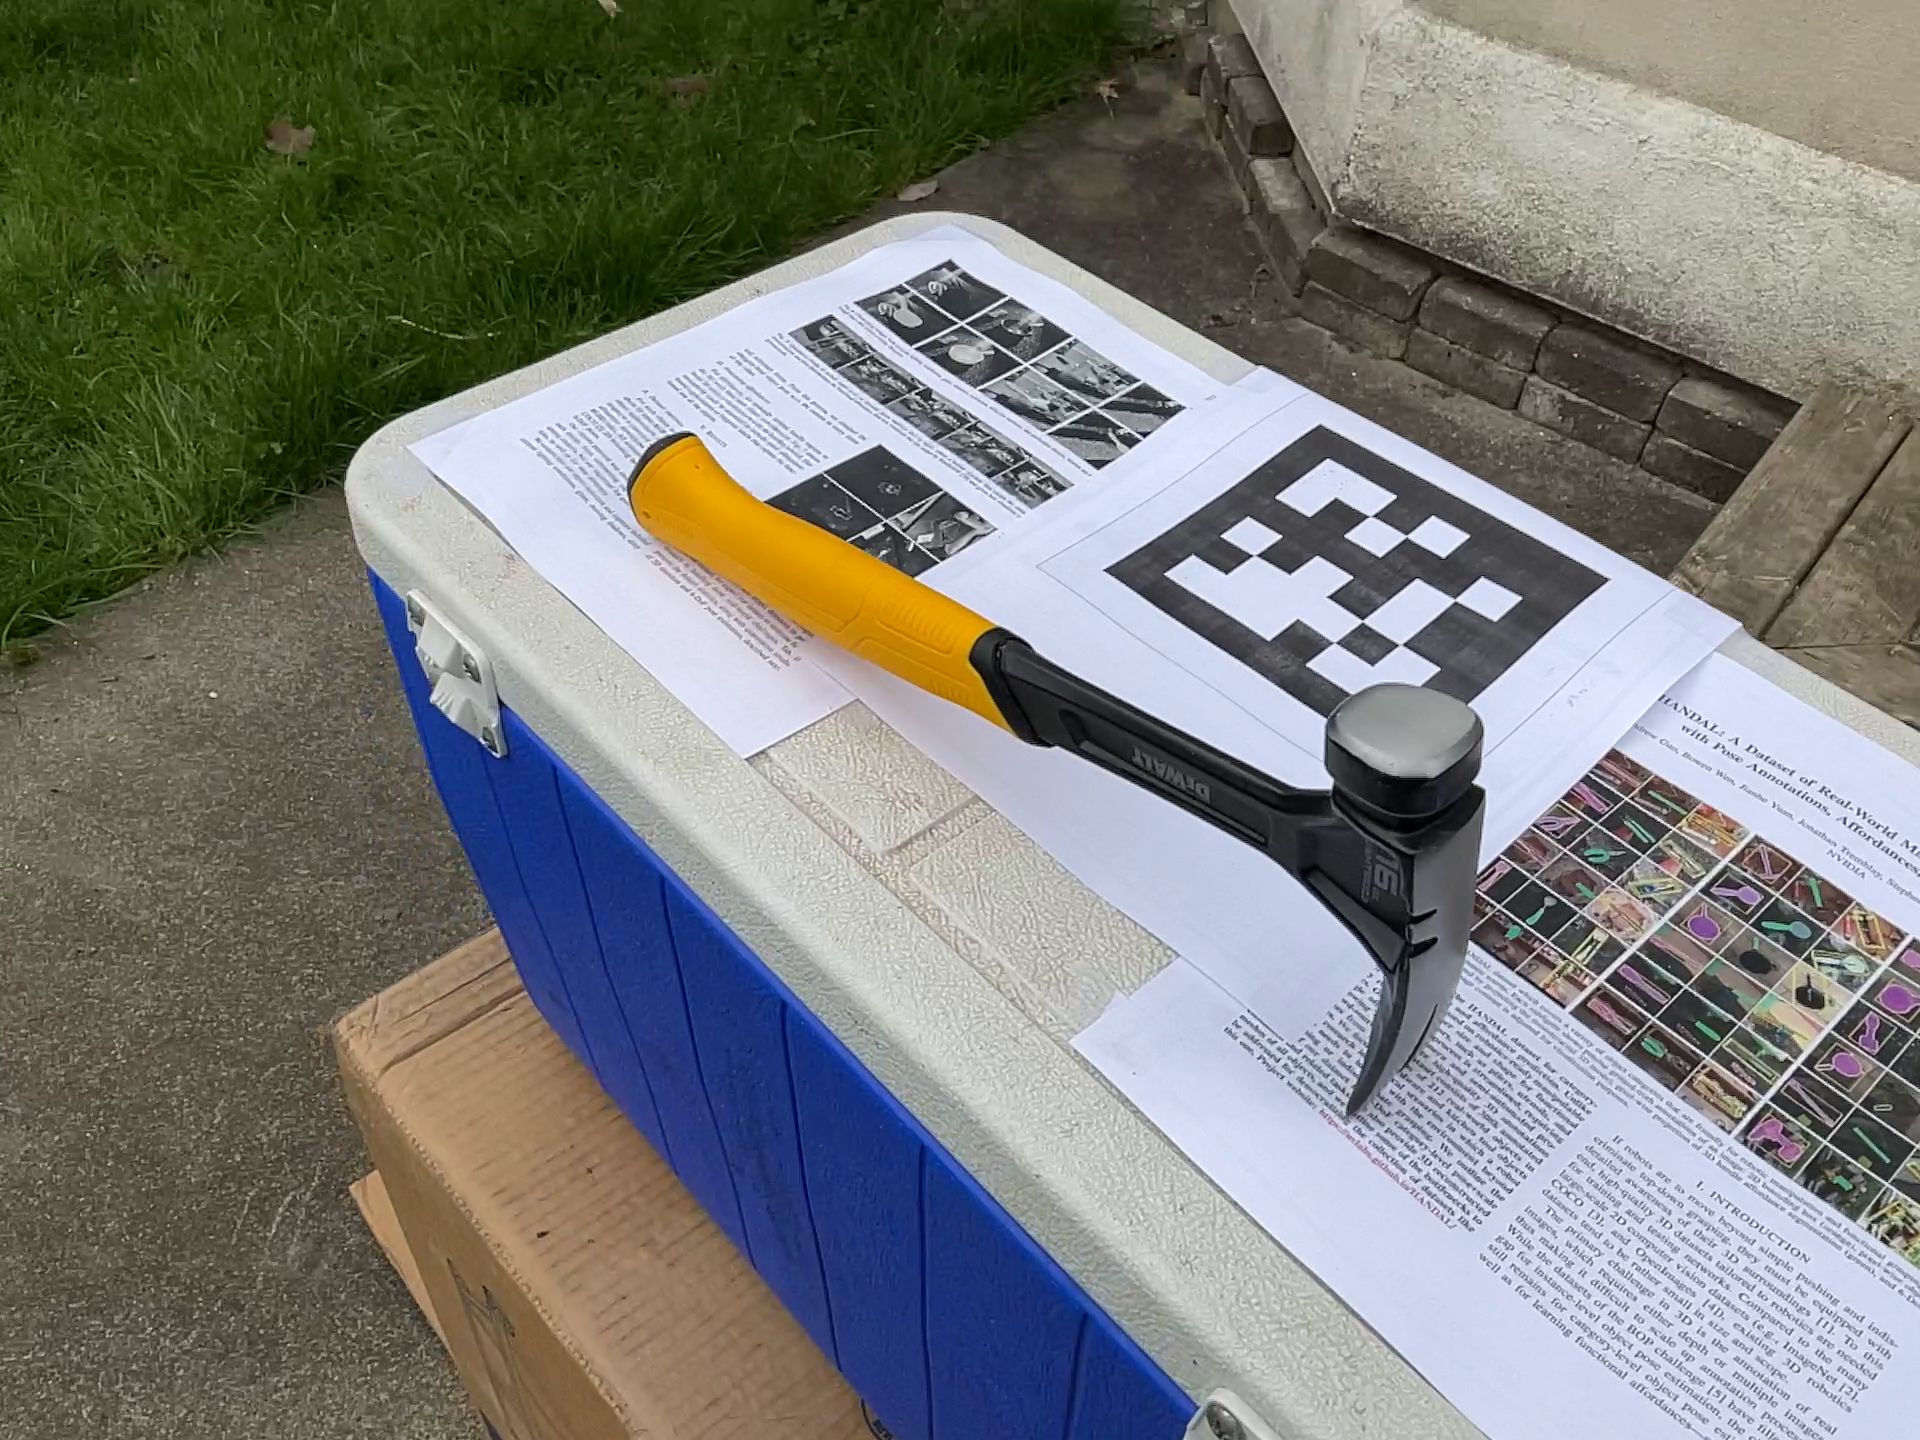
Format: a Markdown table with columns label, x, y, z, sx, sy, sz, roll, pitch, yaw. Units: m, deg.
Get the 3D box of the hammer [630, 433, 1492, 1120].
| label | x | y | z | sx | sy | sz | roll | pitch | yaw |
| --- | --- | --- | --- | --- | --- | --- | --- | --- | --- |
| hammer | 0.005 | -0.012 | 0.489 | 0.034 | 0.127 | 0.337 | -33 | 45 | -29 |
